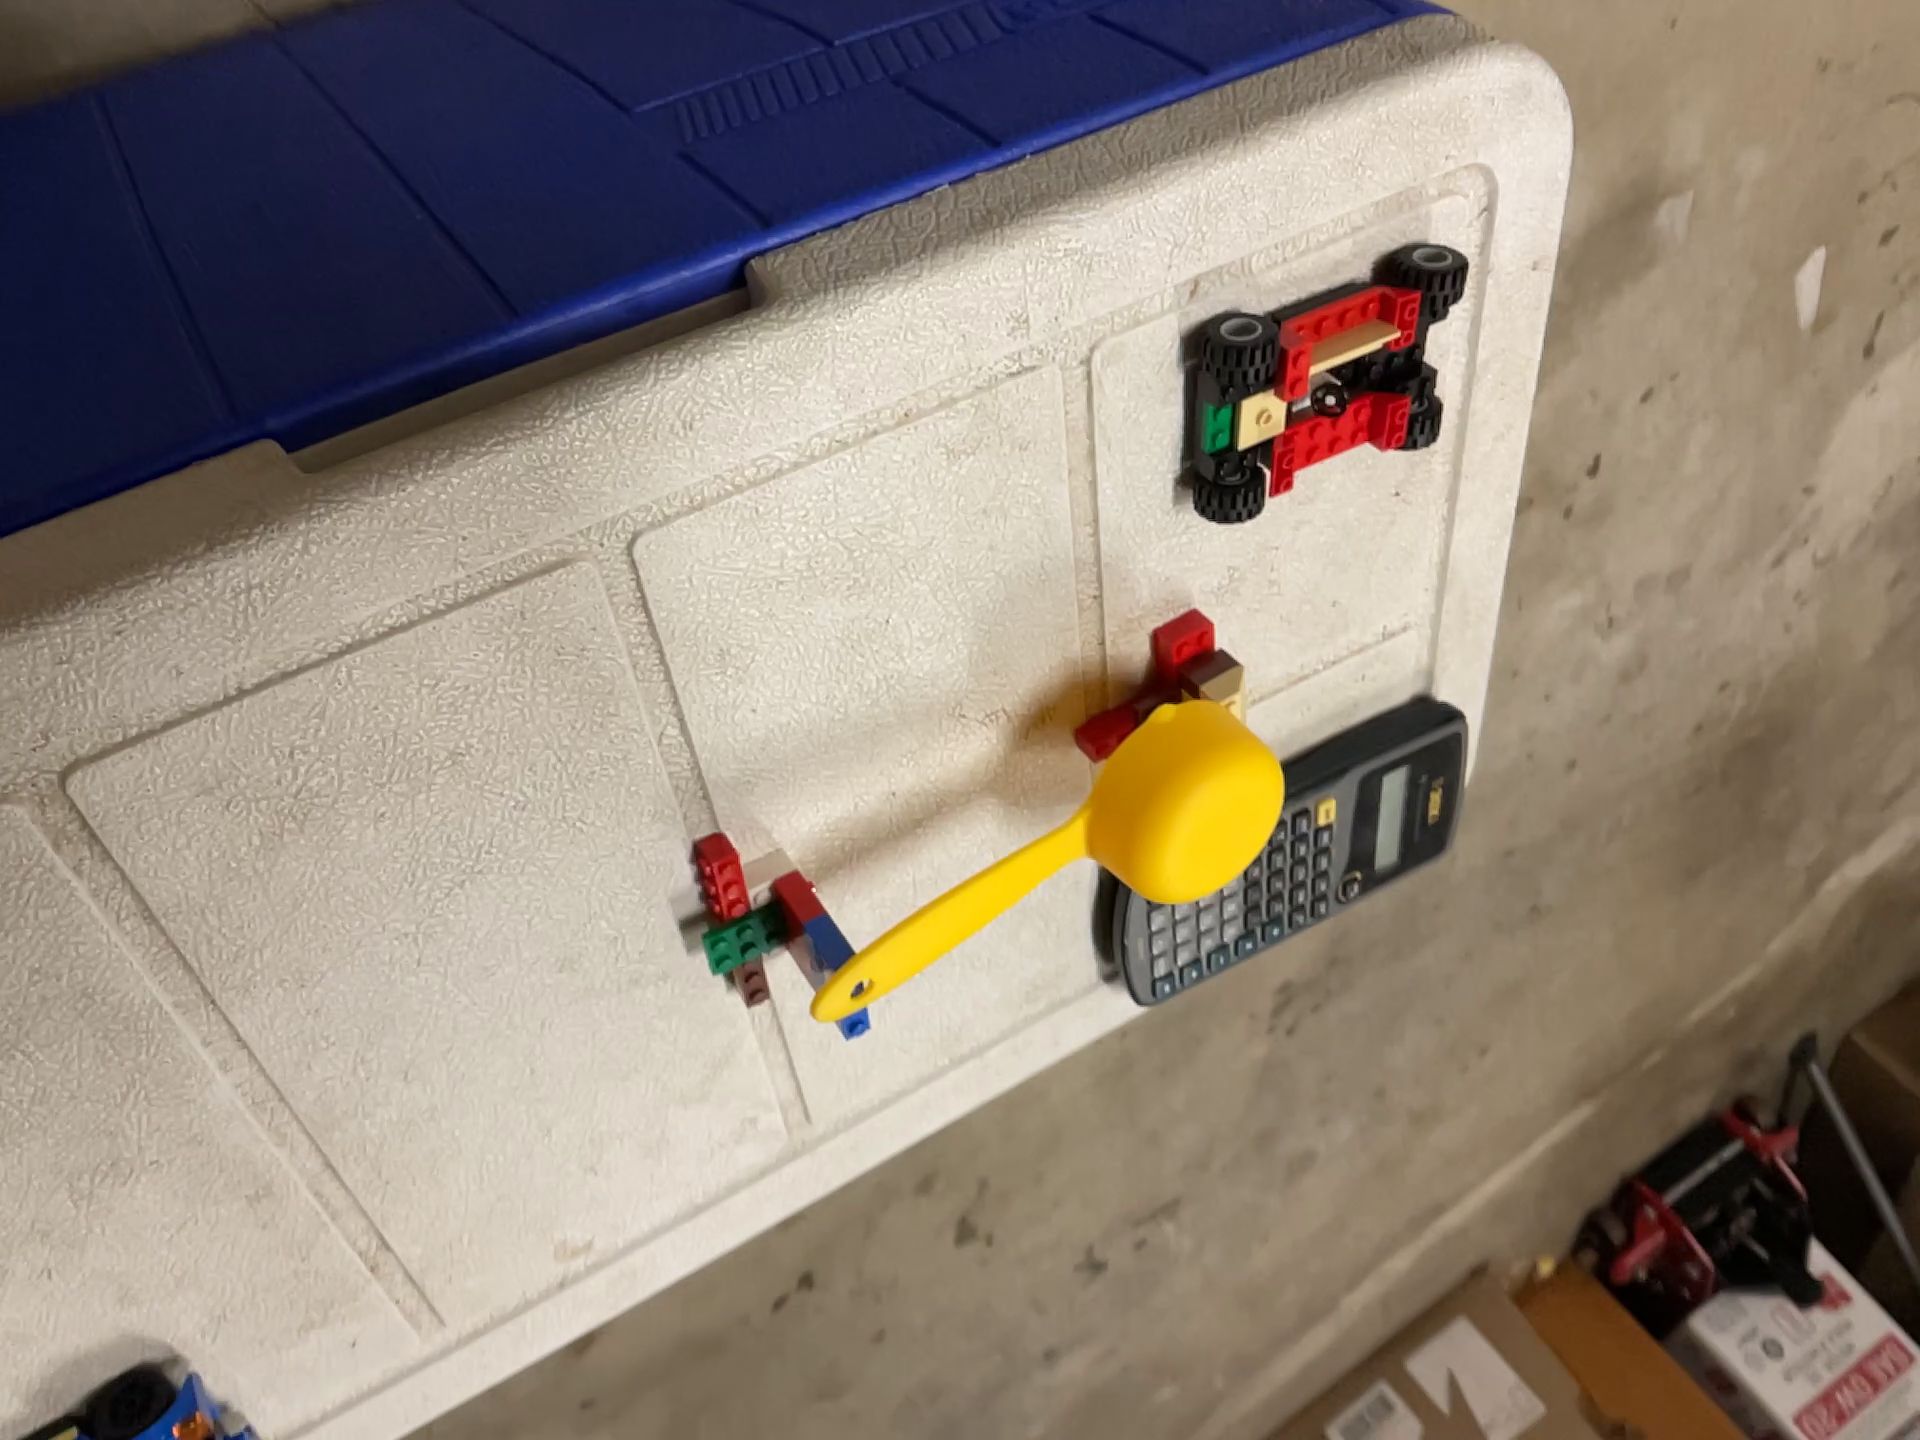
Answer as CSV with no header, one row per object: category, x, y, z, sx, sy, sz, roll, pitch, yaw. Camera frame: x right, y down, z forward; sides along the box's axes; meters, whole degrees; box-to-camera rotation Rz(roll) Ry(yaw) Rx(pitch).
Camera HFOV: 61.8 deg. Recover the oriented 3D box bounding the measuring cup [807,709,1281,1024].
measuring cup,0.029,0.050,0.455,0.156,0.029,0.062,-29,138,-22
